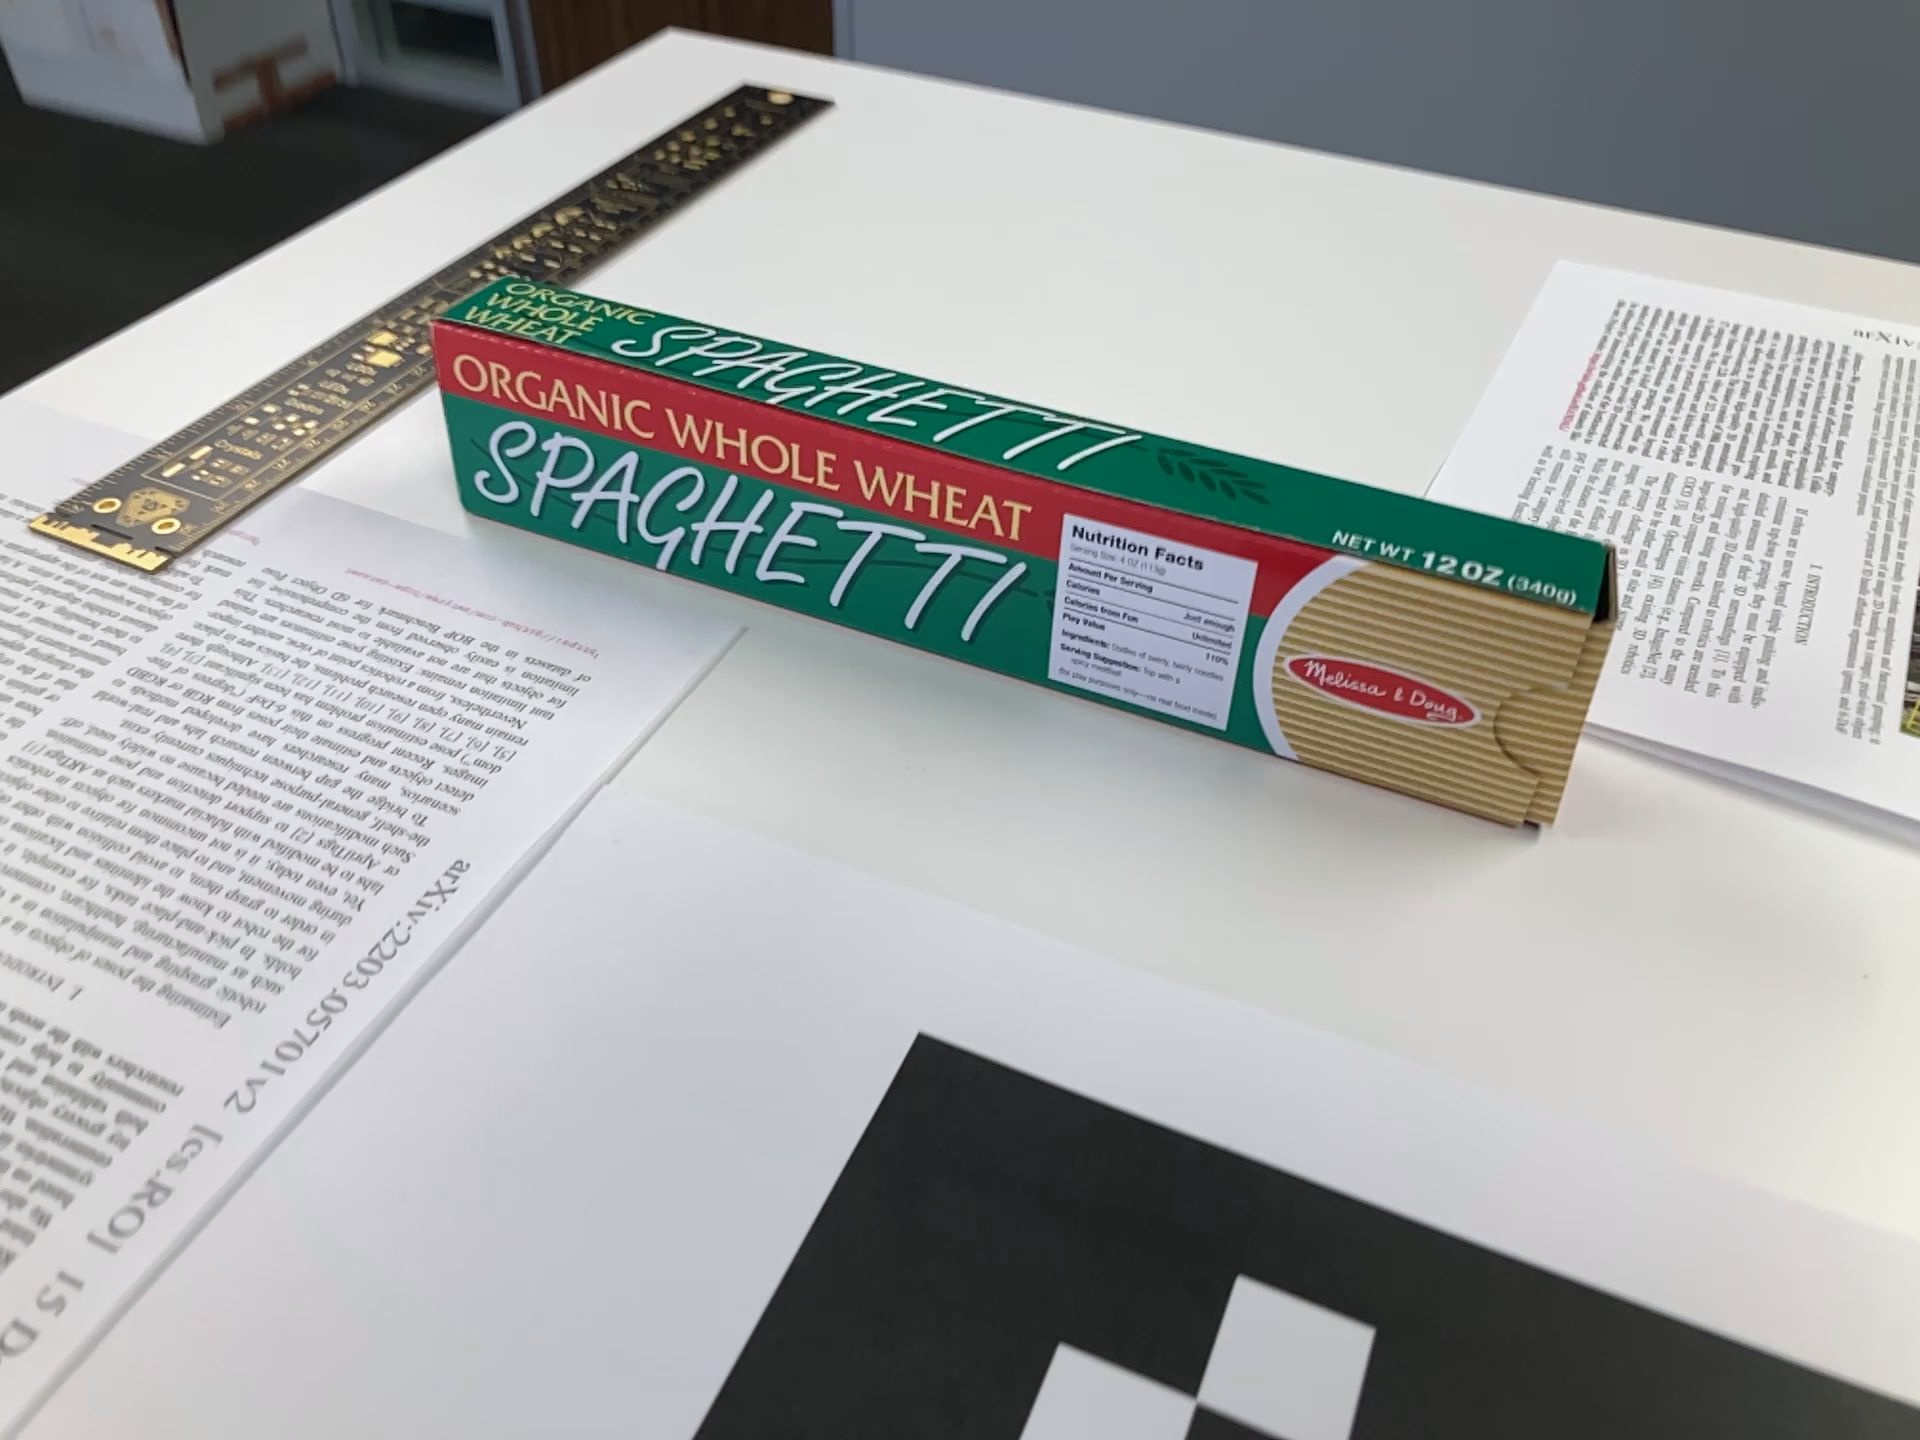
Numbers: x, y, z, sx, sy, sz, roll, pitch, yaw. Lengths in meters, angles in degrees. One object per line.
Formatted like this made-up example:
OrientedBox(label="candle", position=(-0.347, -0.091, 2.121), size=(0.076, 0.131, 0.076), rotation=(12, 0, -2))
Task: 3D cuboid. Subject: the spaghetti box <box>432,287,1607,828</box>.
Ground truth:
OrientedBox(label="spaghetti box", position=(0.001, -0.040, 0.333), size=(0.250, 0.050, 0.028), rotation=(17, 39, 17))
